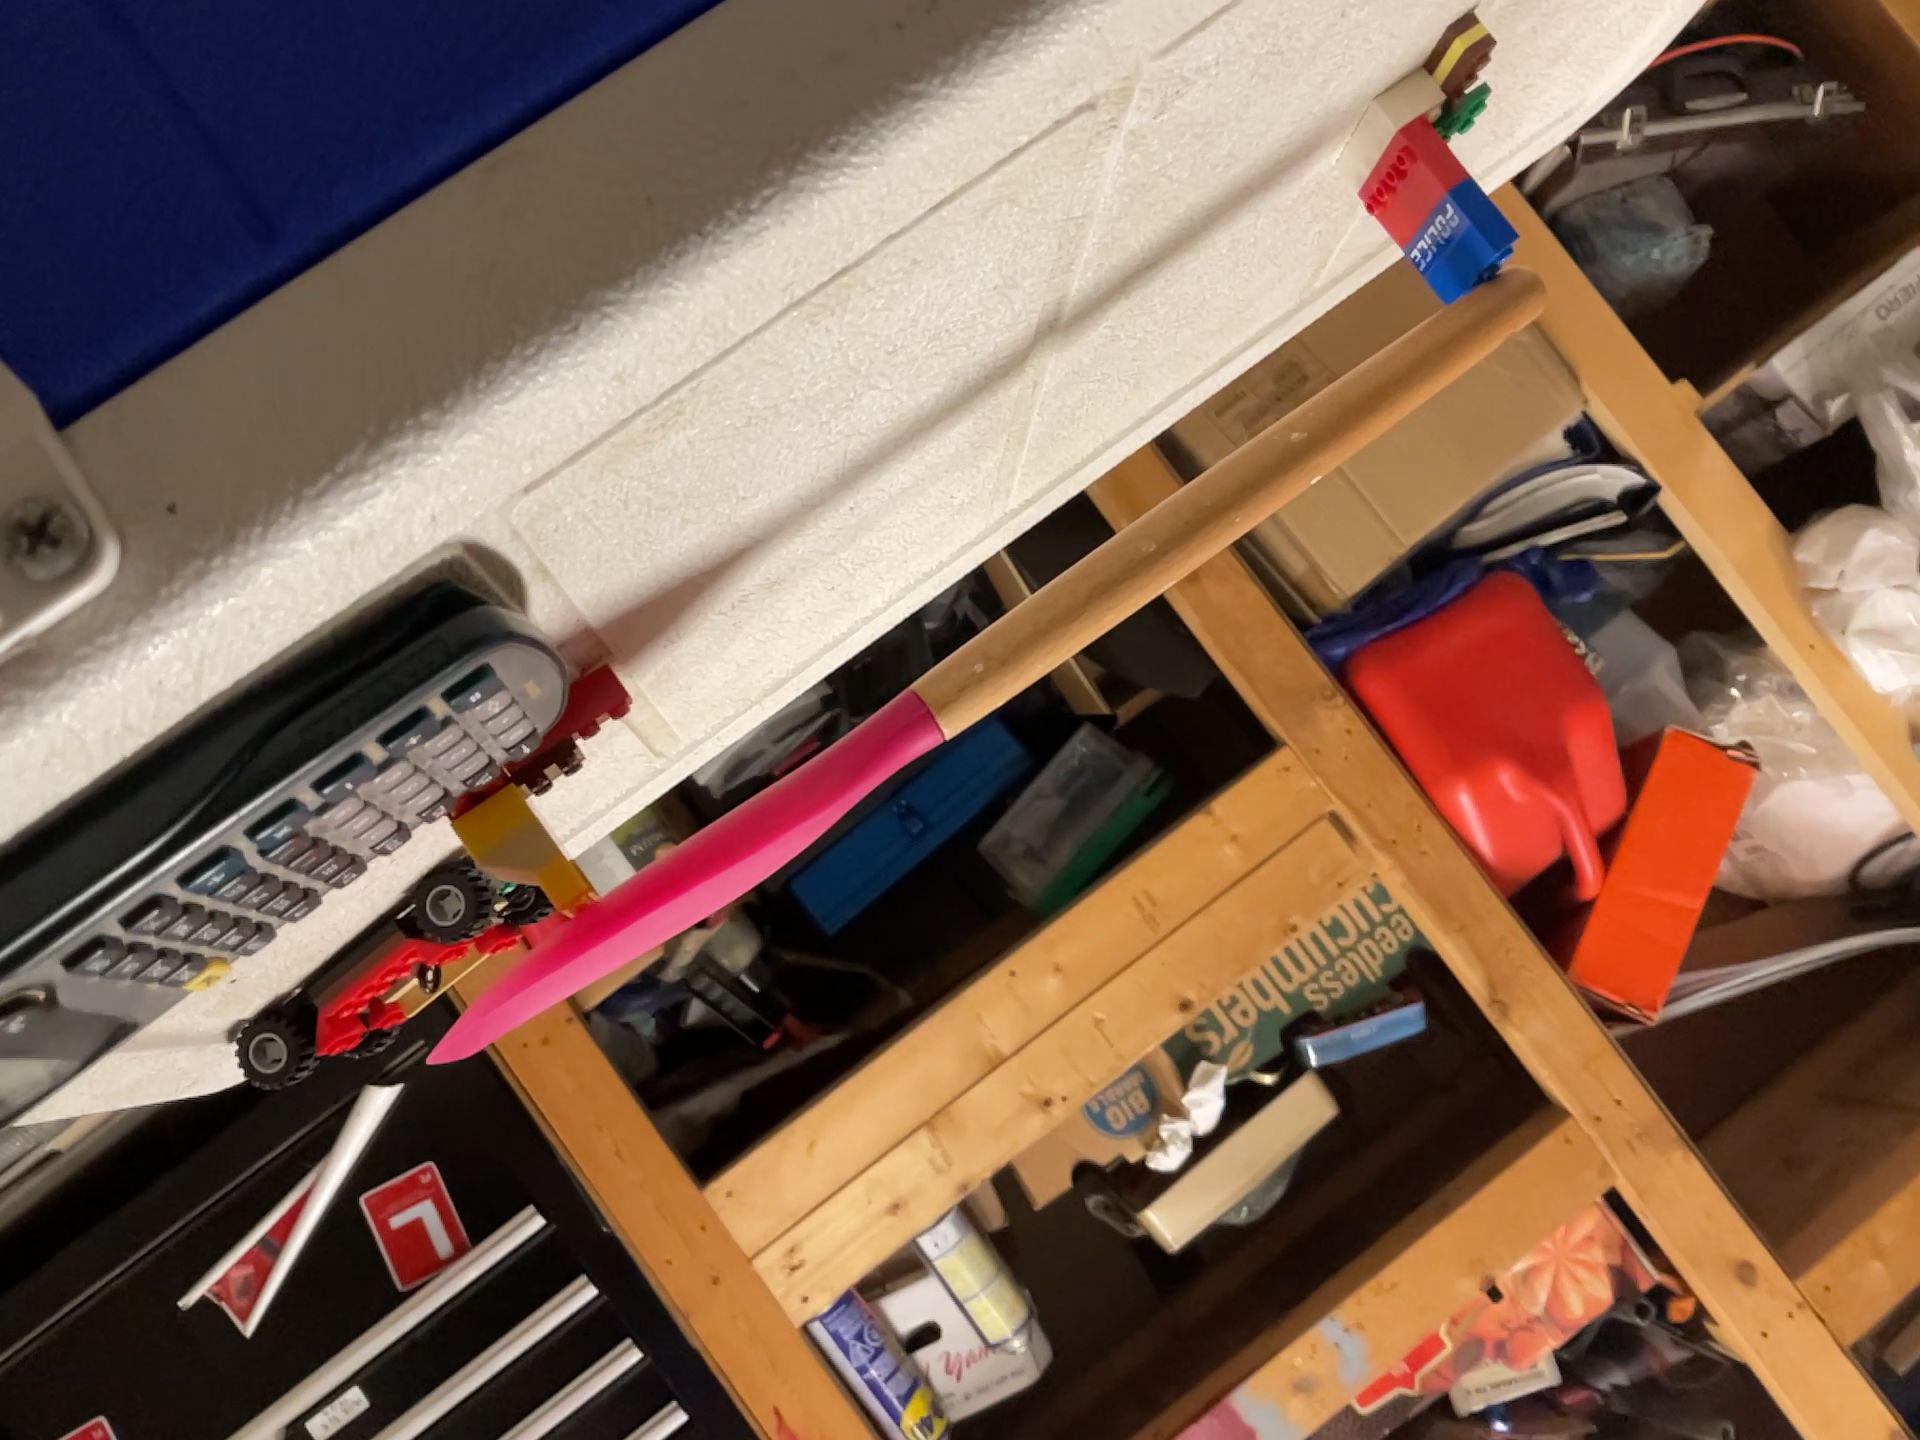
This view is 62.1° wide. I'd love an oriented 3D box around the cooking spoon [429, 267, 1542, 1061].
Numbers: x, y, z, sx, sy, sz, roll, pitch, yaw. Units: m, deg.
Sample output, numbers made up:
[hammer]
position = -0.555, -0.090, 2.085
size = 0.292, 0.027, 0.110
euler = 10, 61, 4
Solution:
[cooking spoon]
position = 0.012, -0.017, 0.378
size = 0.319, 0.017, 0.068
euler = -35, 175, -7
